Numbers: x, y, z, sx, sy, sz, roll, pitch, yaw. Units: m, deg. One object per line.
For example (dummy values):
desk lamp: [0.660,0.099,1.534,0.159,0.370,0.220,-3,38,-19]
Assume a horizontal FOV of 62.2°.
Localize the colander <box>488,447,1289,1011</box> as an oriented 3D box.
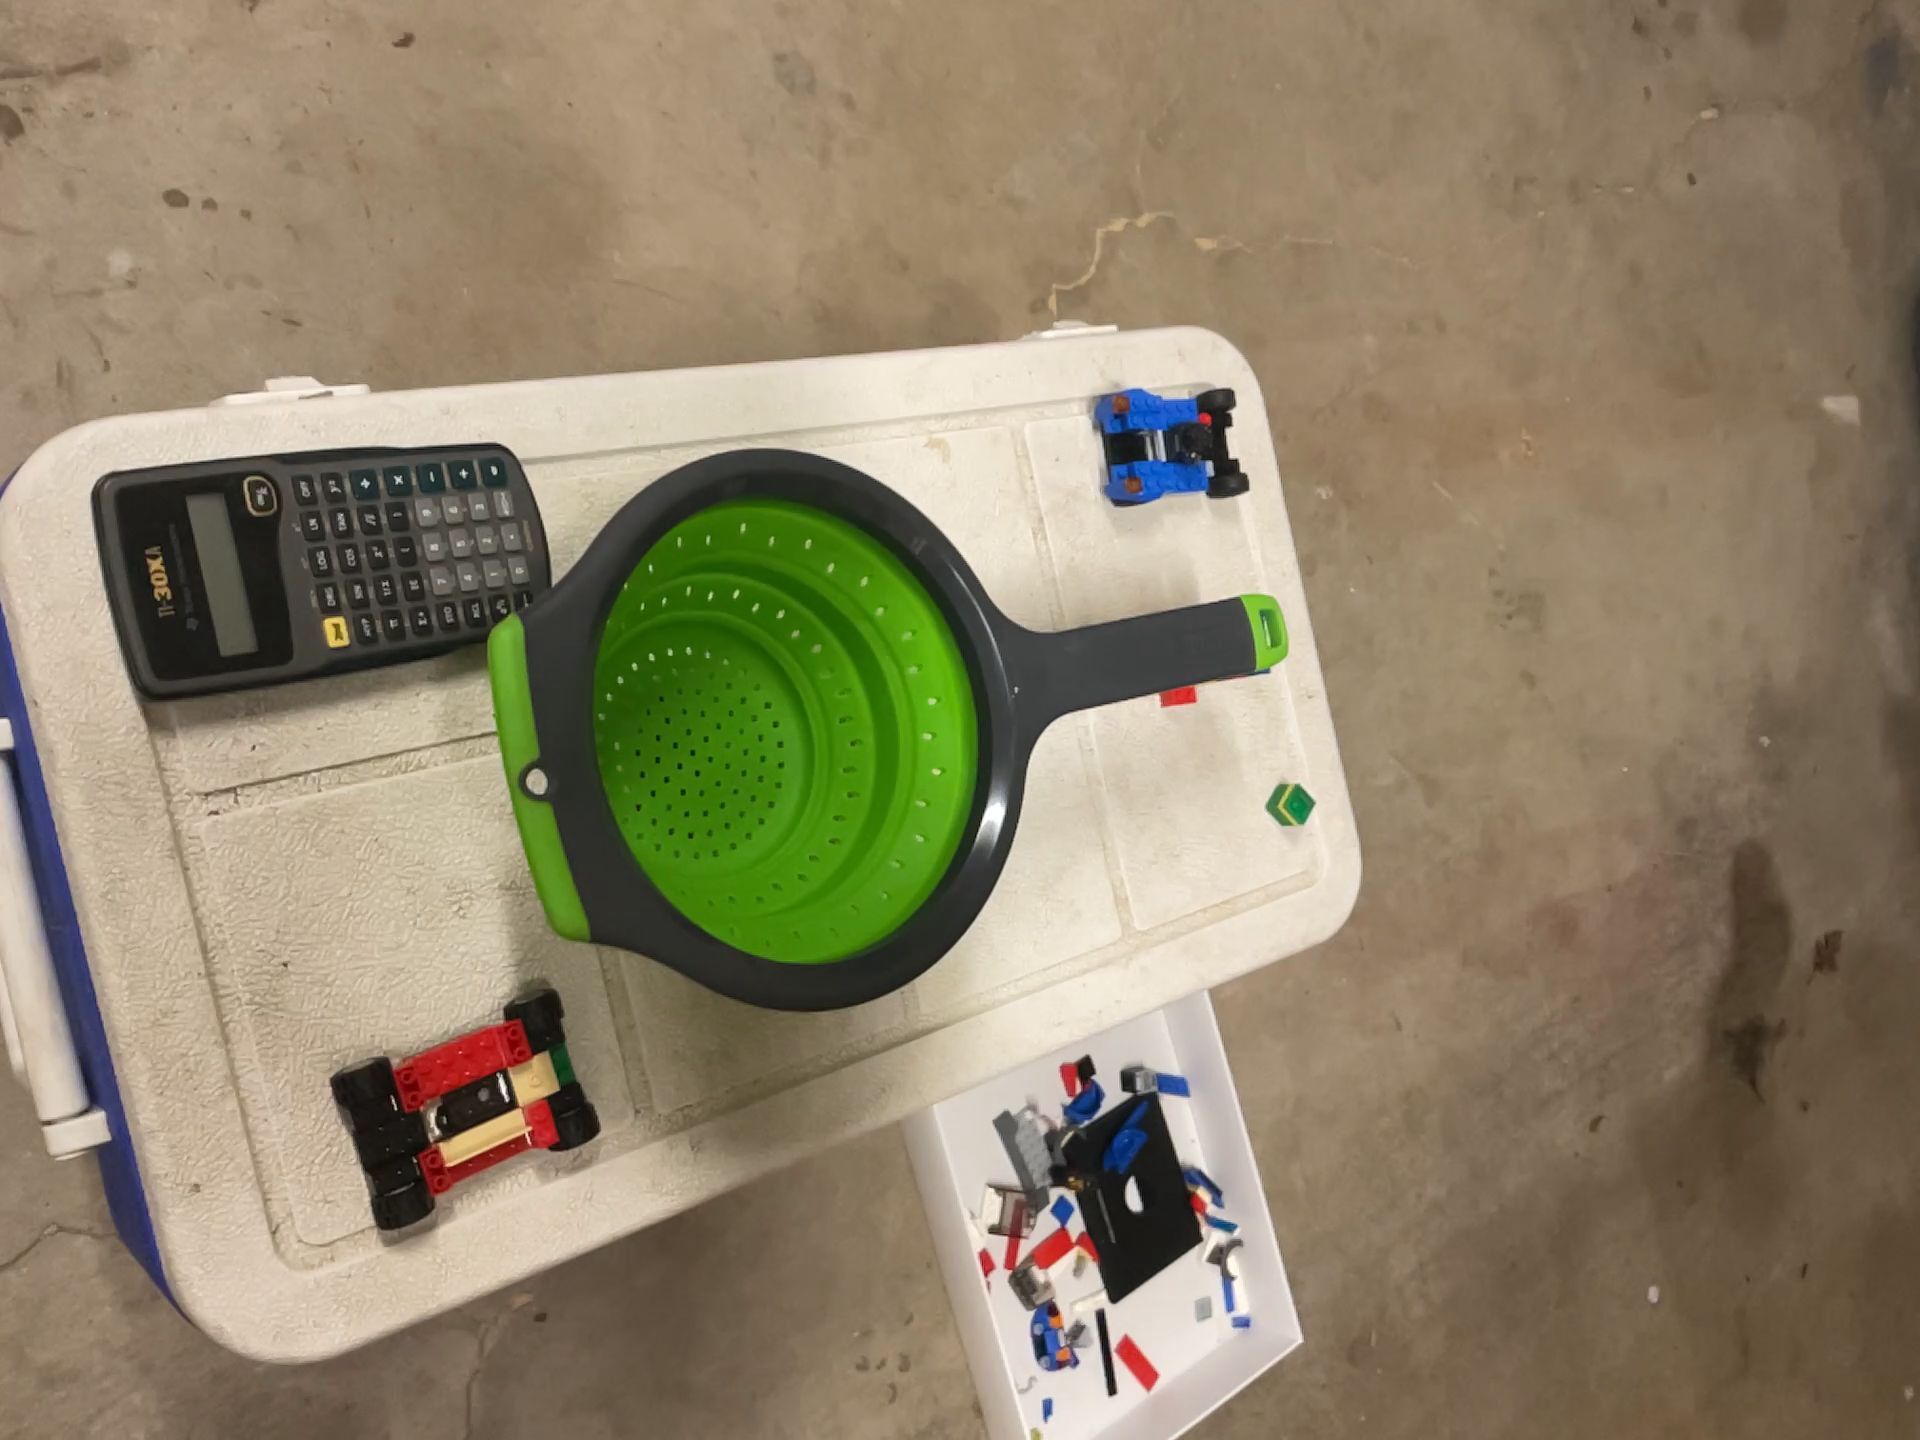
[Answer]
colander: [-0.017,-0.006,0.660,0.397,0.094,0.204,-12,88,-40]
